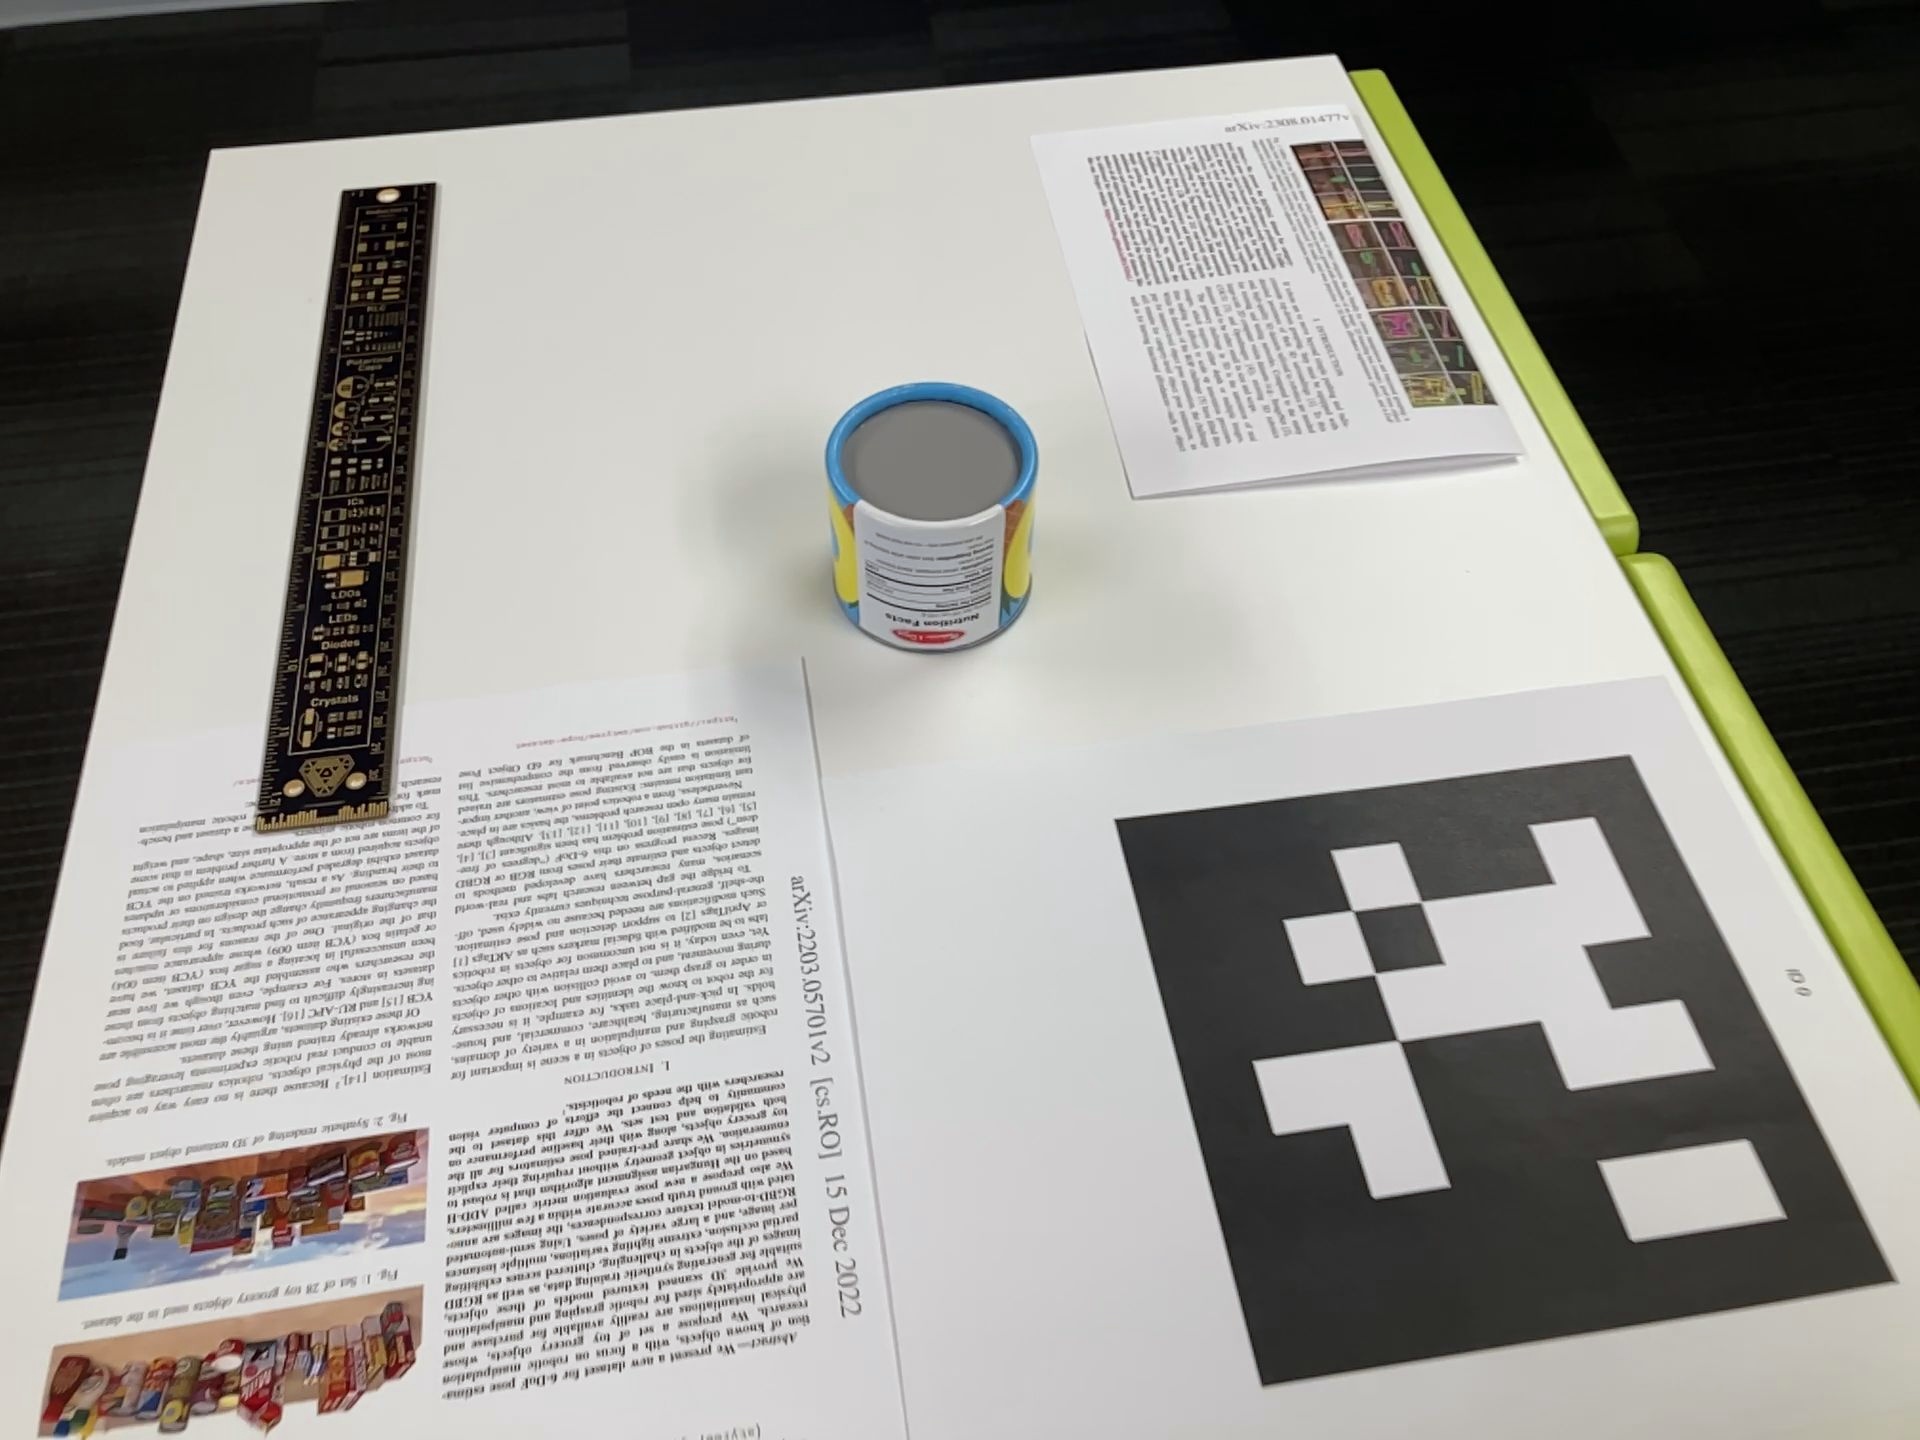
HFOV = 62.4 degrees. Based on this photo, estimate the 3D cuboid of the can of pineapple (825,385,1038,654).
[{"bbox_3d":[-0.009,-0.066,0.508,0.071,0.058,0.071,0,53,-1],"label":"can of pineapple"}]
